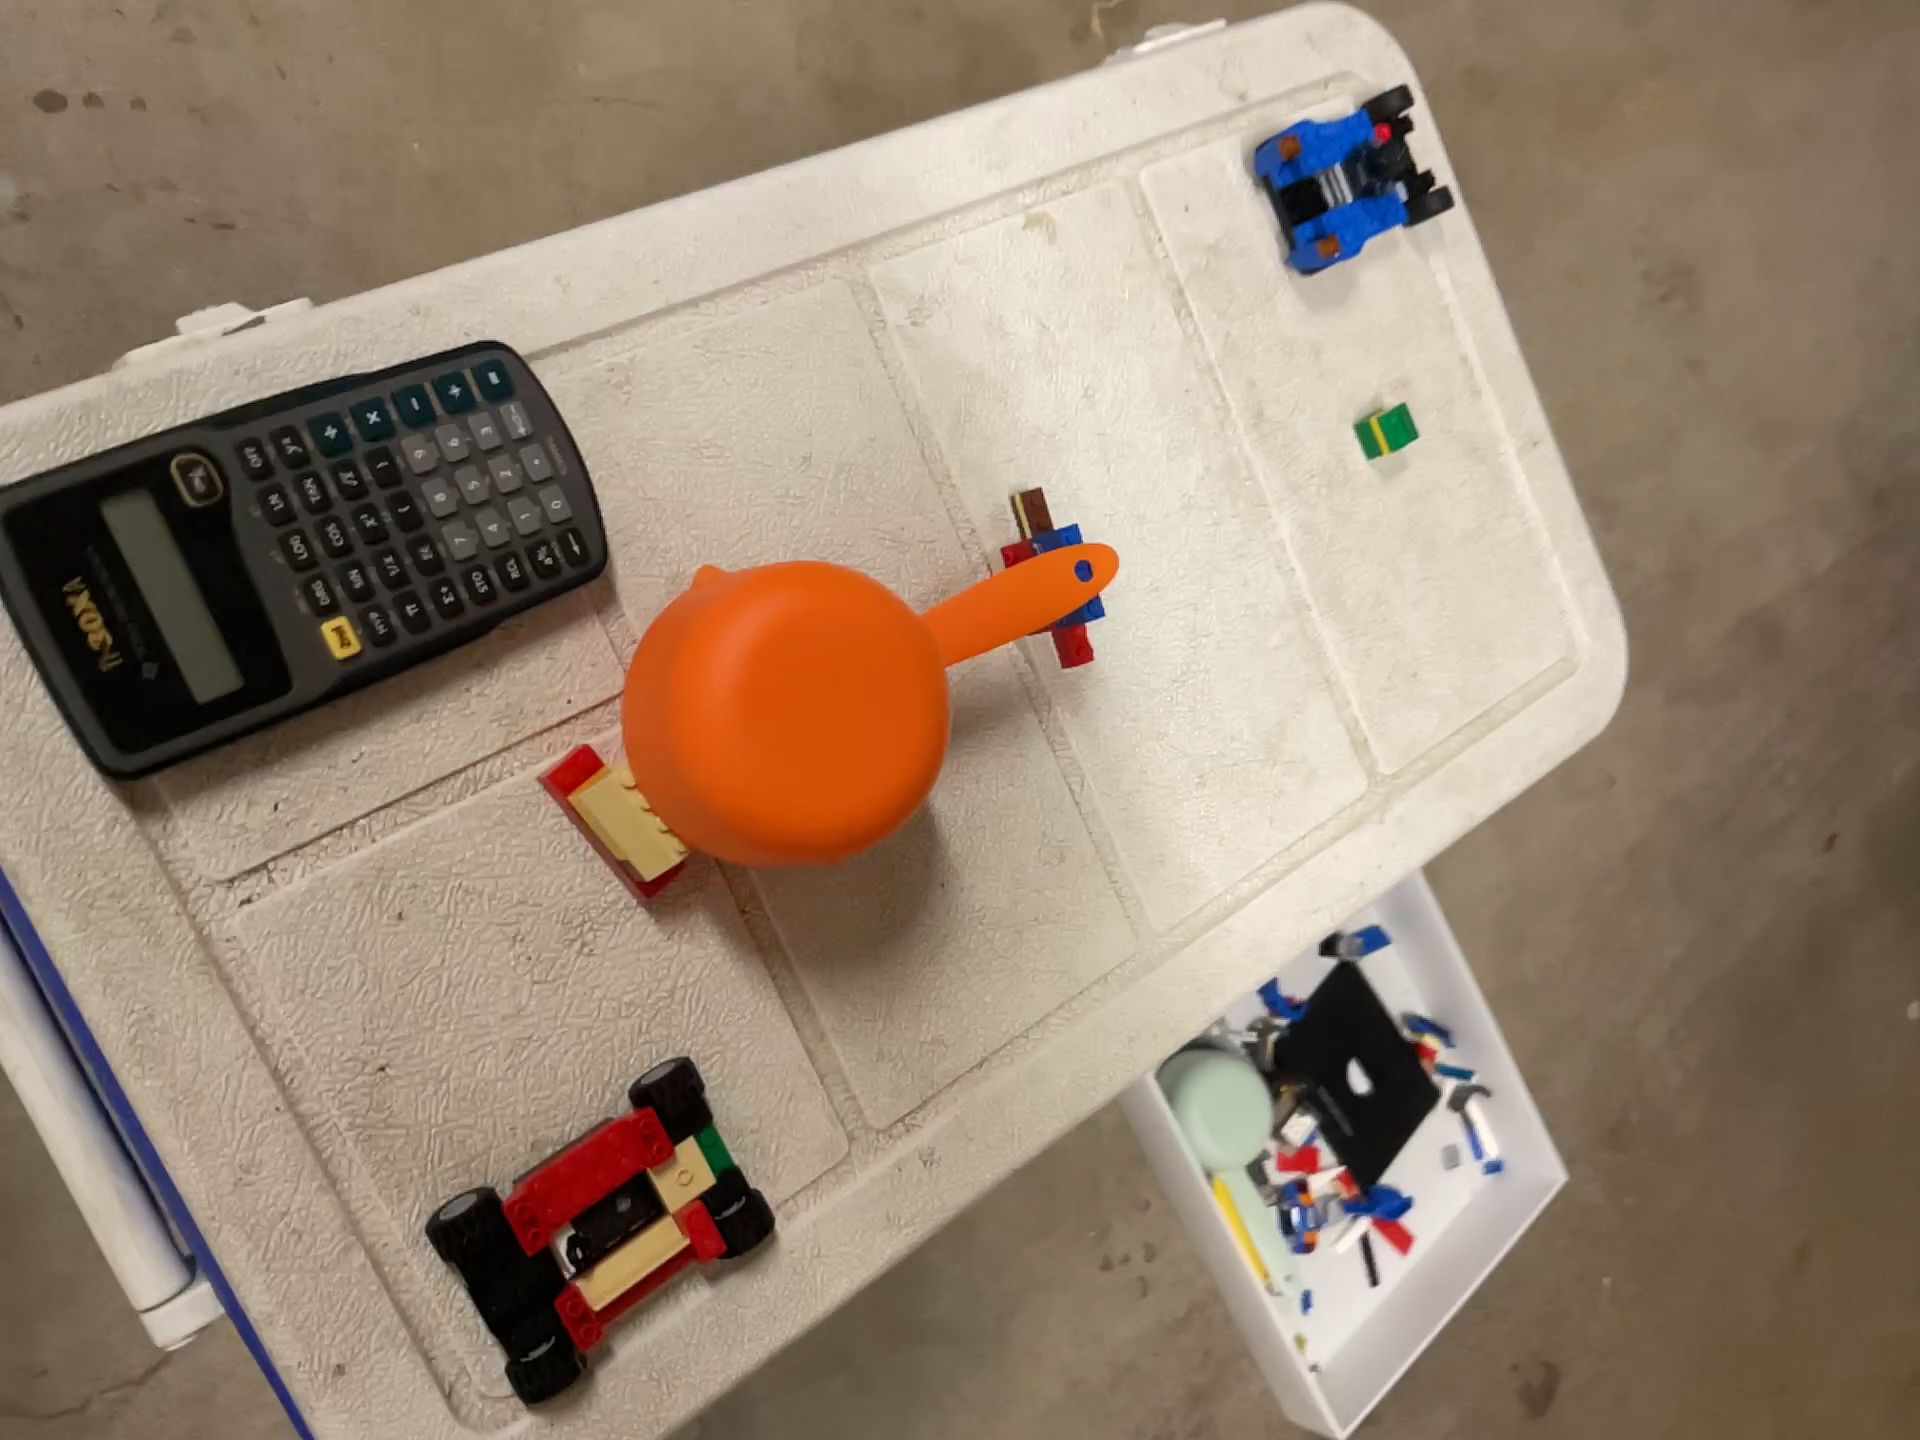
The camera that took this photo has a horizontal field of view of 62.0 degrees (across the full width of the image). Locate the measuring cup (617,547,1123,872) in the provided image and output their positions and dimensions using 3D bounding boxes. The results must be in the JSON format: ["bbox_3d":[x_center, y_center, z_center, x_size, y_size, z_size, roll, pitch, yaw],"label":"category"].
[{"bbox_3d":[-0.011,-0.018,0.459,0.173,0.052,0.095,-26,99,-24],"label":"measuring cup"}]
